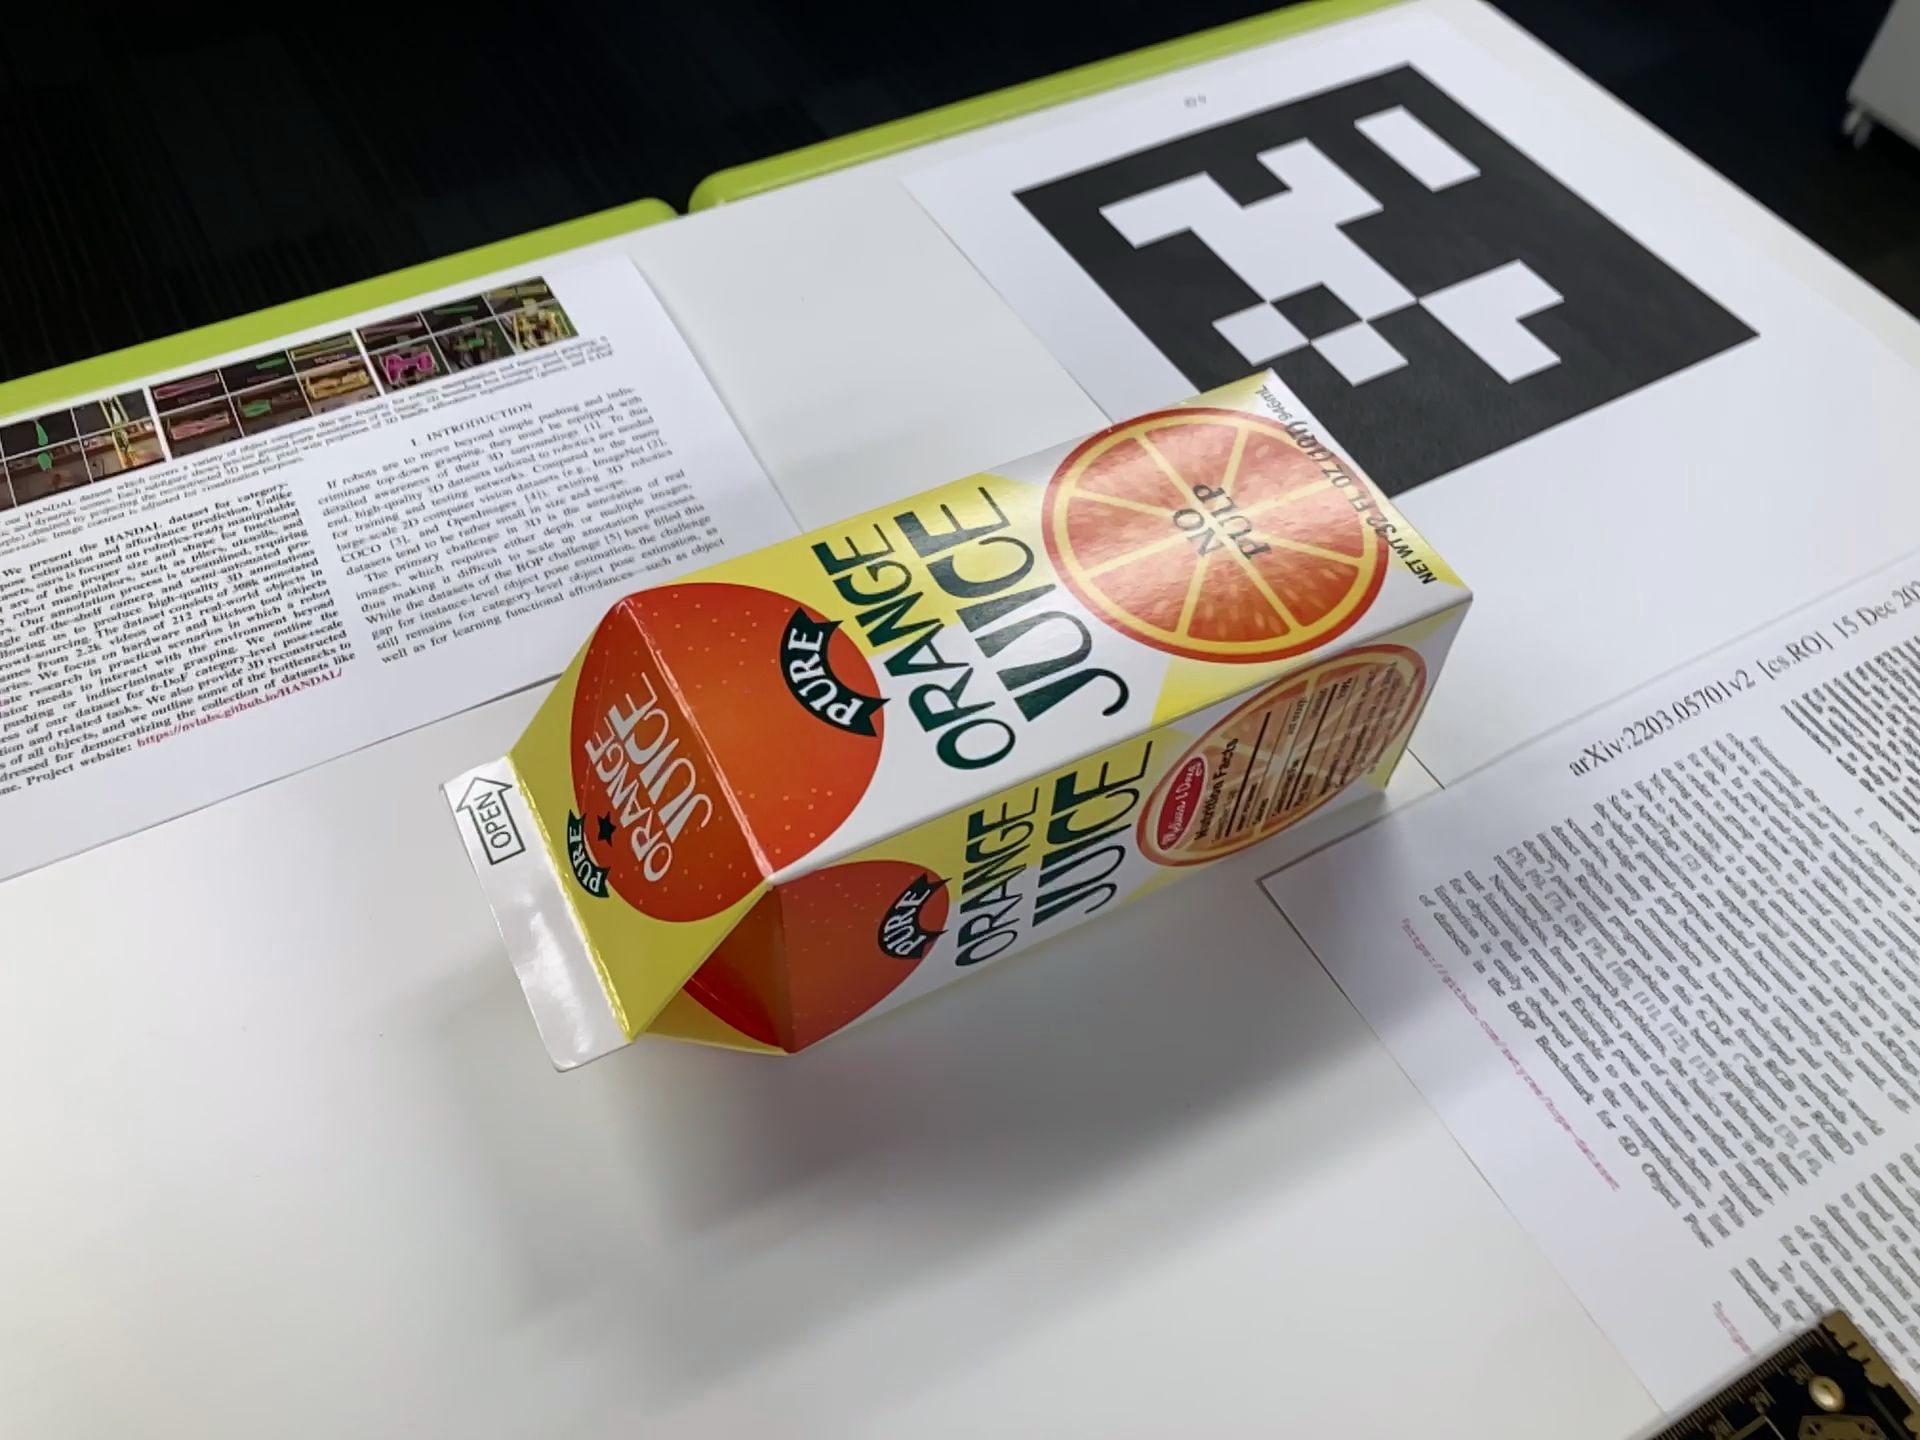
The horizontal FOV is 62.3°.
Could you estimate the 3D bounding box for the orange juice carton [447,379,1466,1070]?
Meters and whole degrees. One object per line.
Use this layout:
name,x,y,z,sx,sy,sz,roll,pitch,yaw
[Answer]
orange juice carton,-0.001,0.004,0.327,0.192,0.073,0.072,-21,58,-17
